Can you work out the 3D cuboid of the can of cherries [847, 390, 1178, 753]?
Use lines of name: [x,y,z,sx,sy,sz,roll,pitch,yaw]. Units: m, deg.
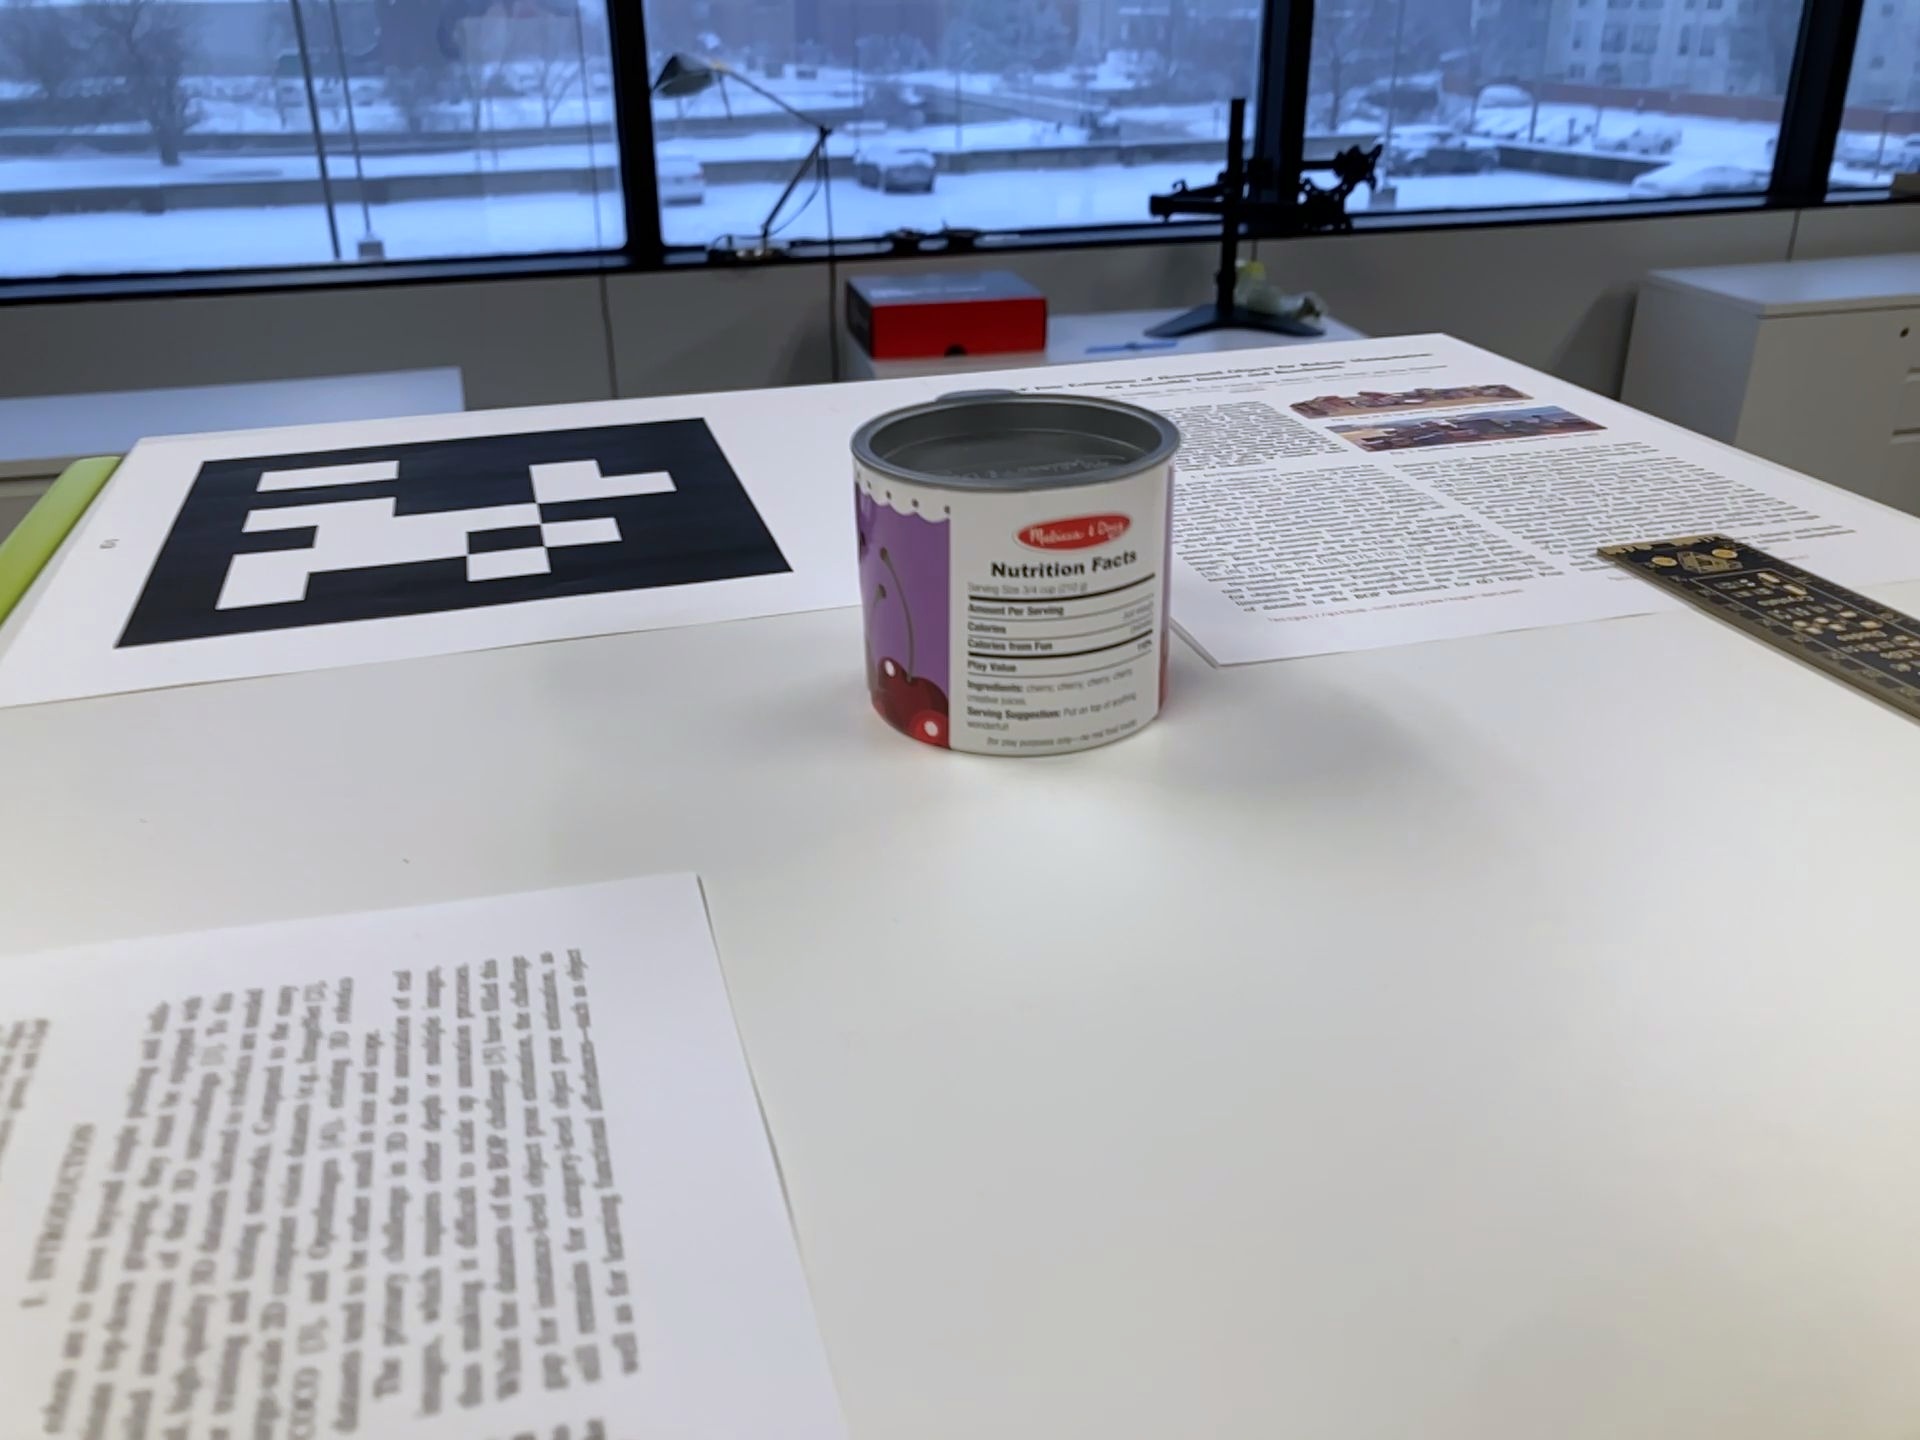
can of cherries: [0.010,-0.034,0.332,0.071,0.058,0.071,-1,25,1]
